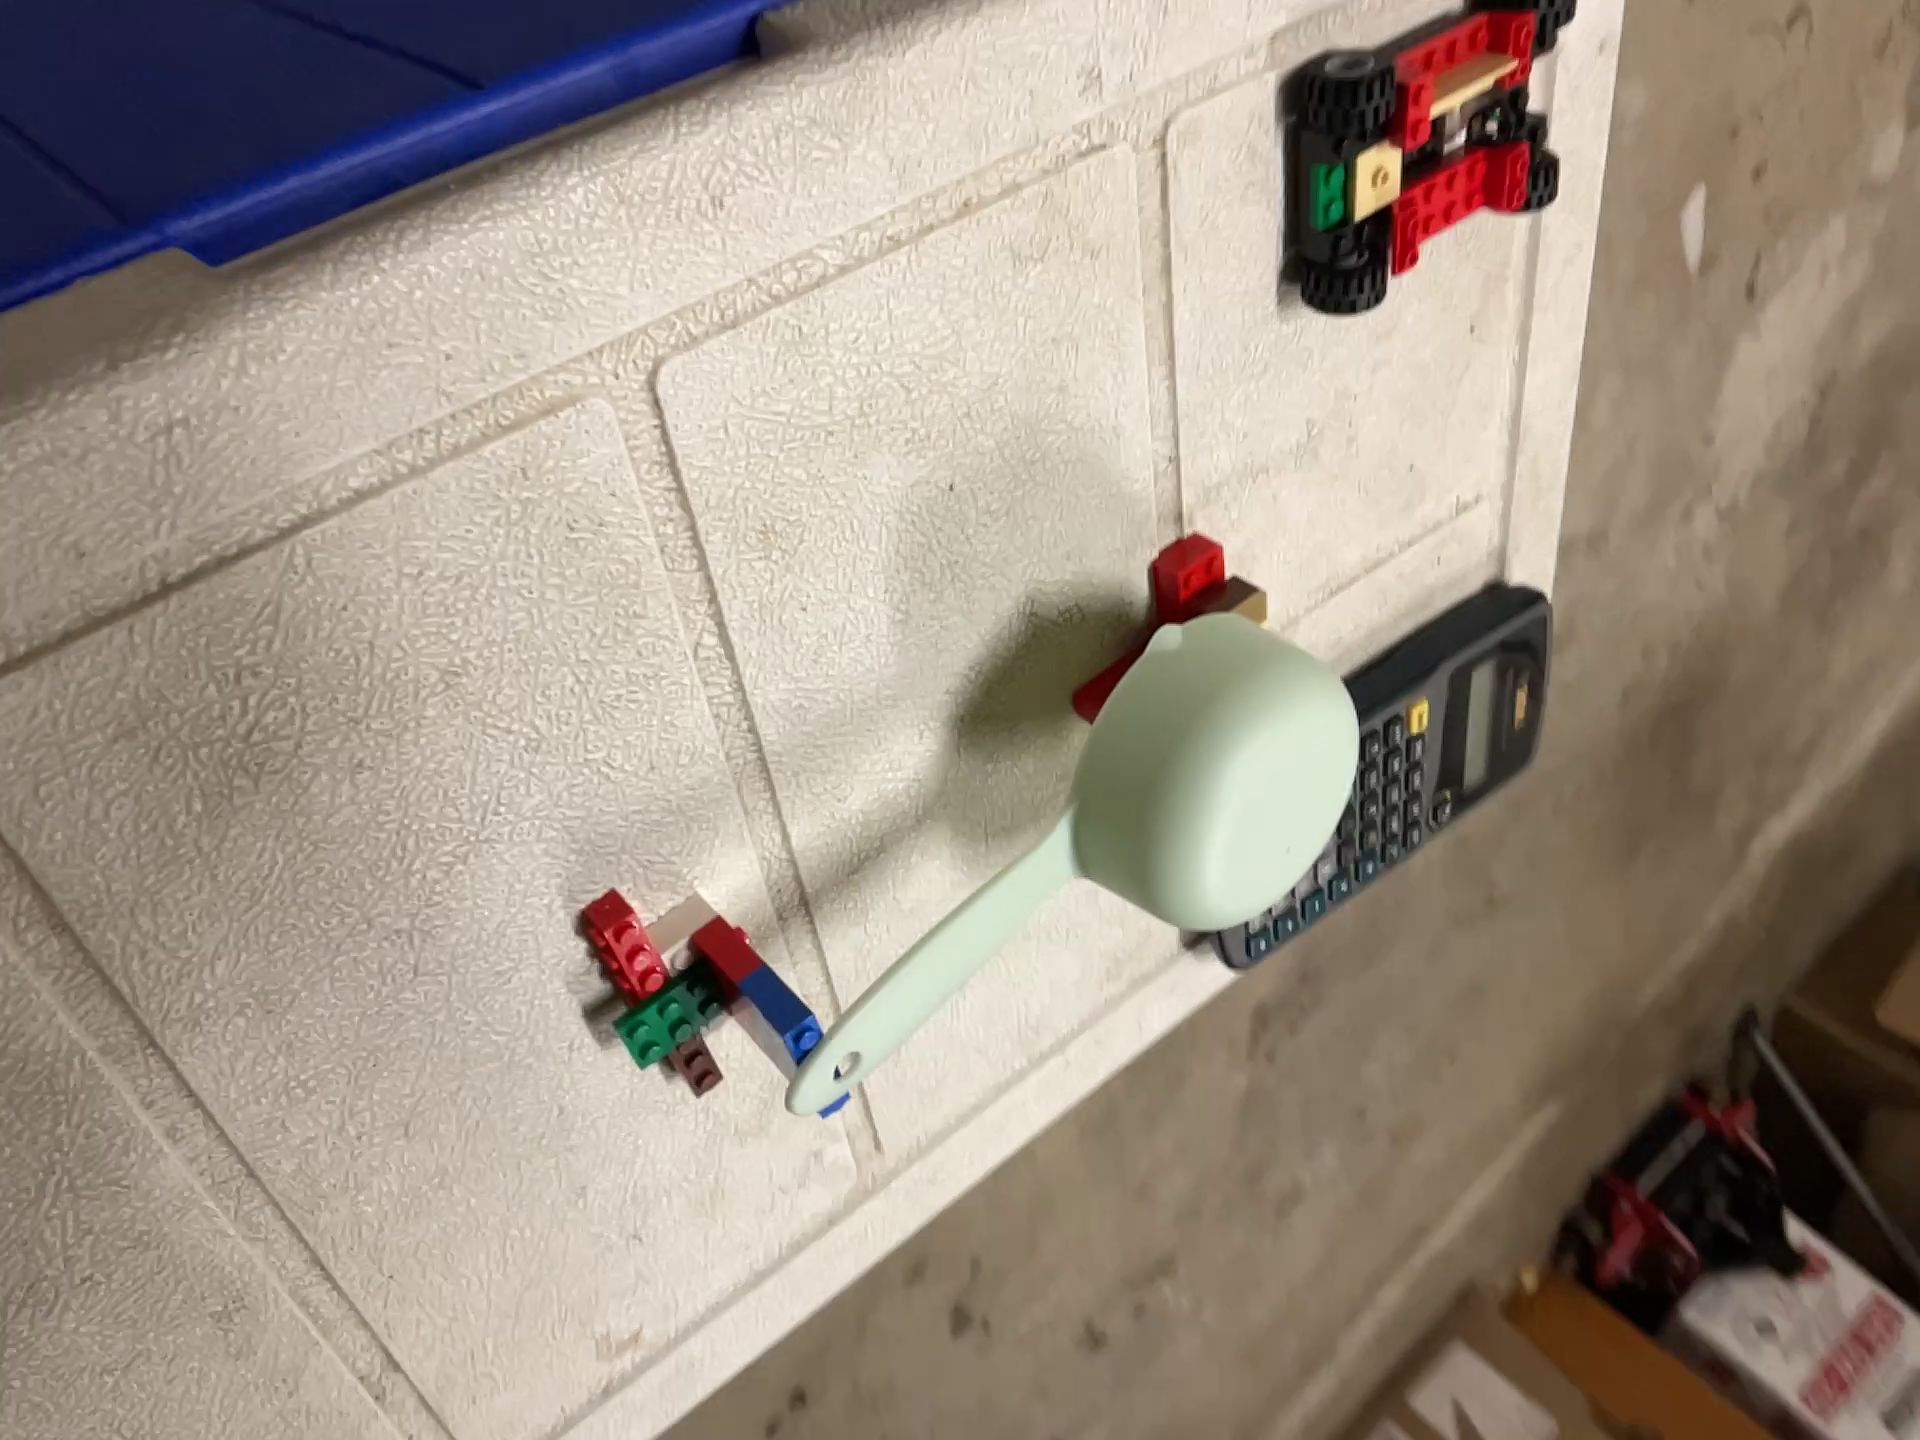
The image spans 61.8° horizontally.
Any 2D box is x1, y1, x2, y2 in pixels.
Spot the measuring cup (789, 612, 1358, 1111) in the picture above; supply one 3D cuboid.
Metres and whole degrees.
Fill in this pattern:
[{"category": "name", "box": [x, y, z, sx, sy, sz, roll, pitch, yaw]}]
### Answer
[{"category": "measuring cup", "box": [0.033, 0.041, 0.370, 0.167, 0.038, 0.083, -39, 138, -26]}]
